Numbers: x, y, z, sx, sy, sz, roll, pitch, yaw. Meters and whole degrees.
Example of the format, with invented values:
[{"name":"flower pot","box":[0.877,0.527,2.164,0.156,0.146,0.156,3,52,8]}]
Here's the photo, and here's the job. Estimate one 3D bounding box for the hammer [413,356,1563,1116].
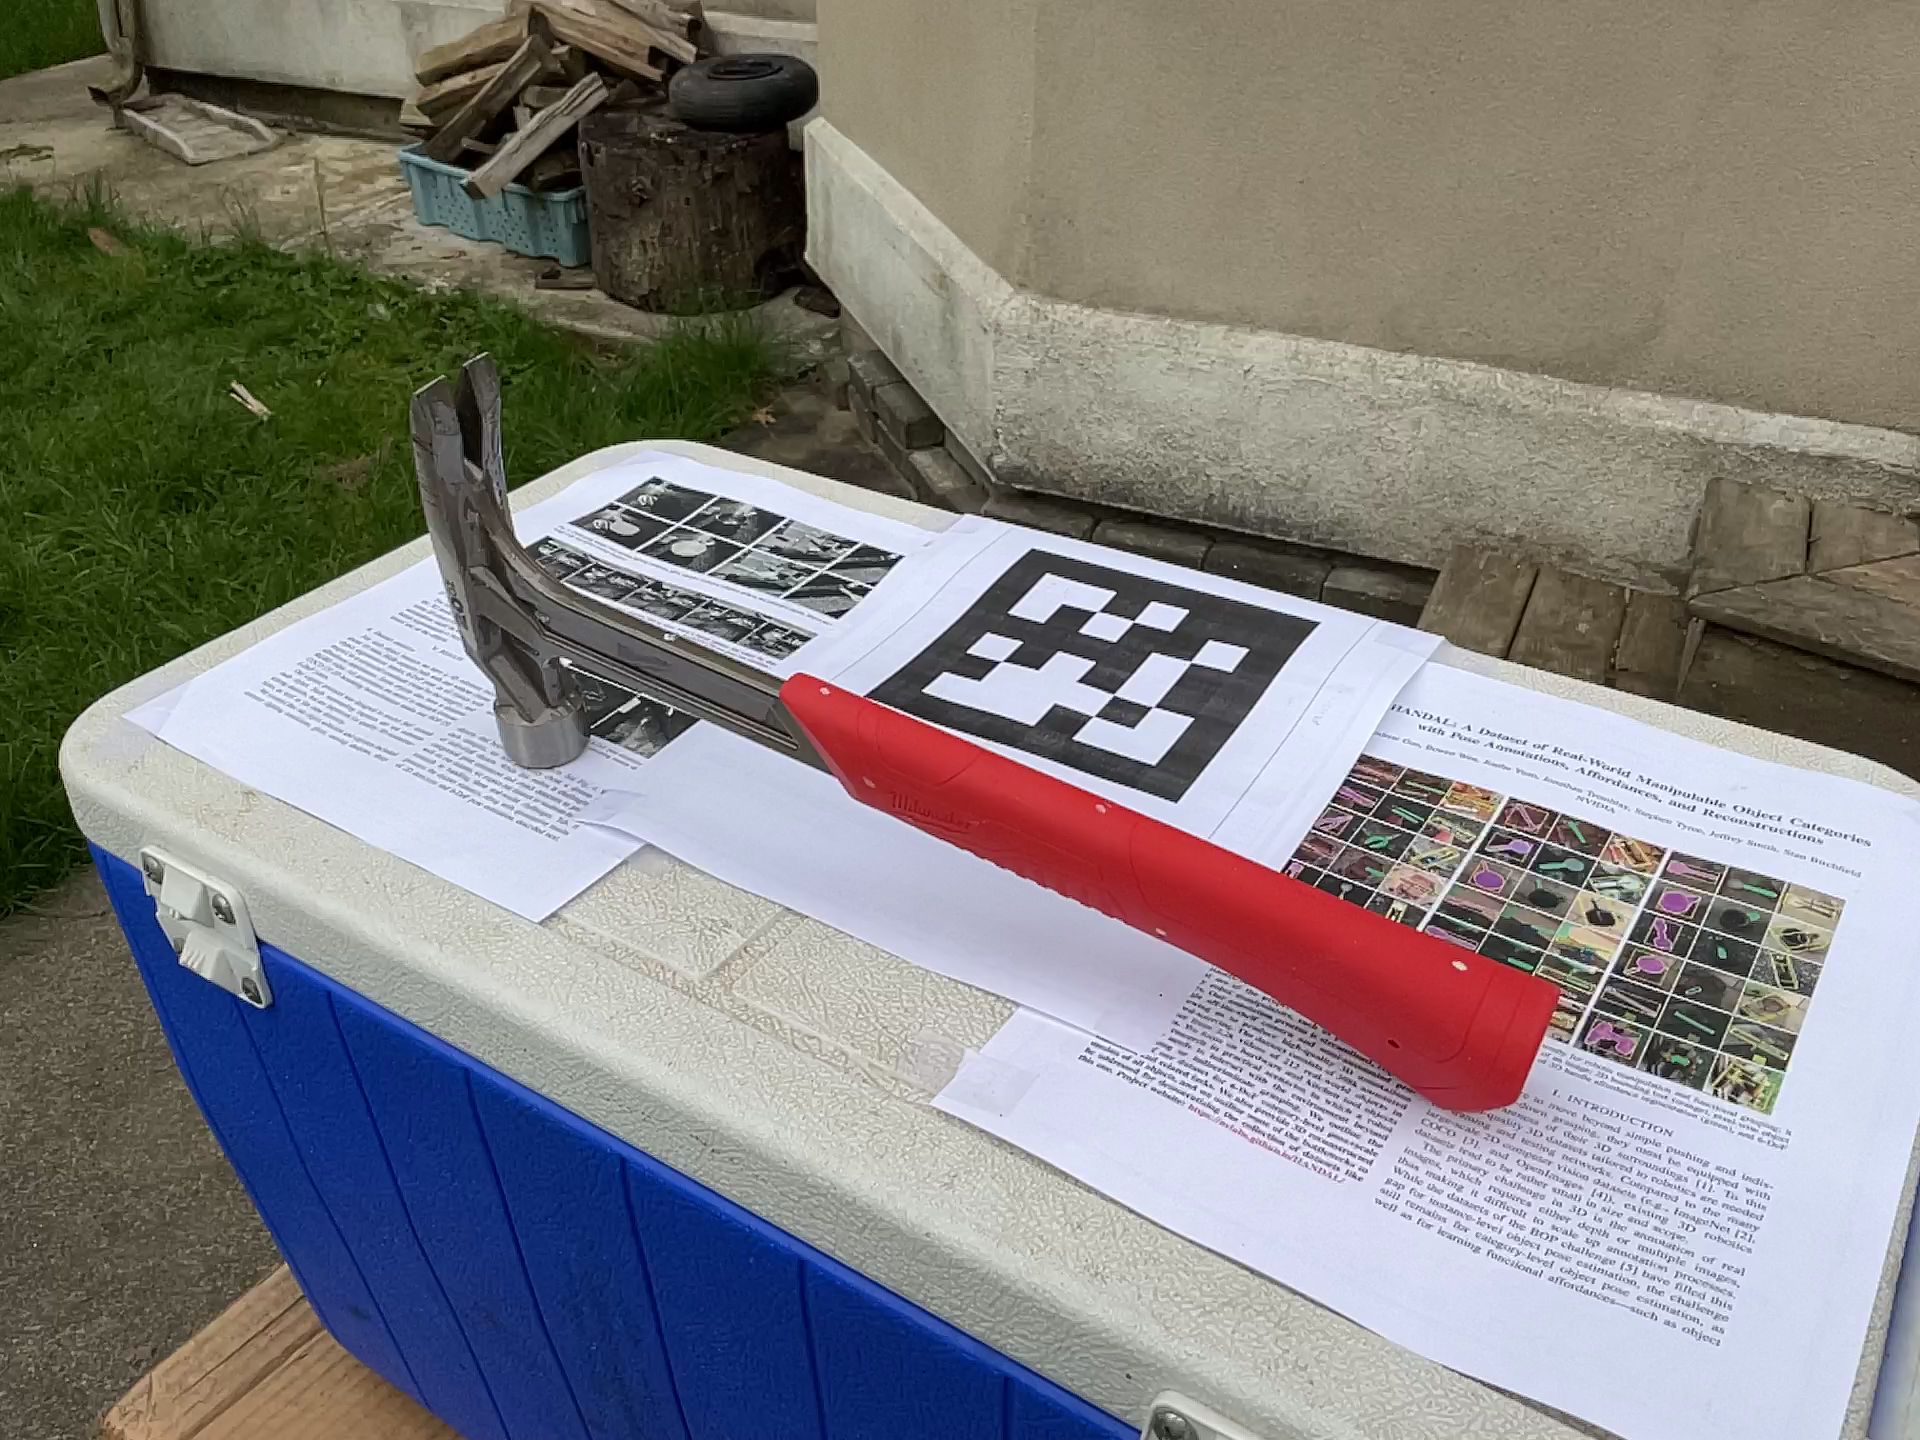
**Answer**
[{"name":"hammer","box":[-0.008,0.012,0.462,0.359,0.149,0.036,22,46,22]}]
